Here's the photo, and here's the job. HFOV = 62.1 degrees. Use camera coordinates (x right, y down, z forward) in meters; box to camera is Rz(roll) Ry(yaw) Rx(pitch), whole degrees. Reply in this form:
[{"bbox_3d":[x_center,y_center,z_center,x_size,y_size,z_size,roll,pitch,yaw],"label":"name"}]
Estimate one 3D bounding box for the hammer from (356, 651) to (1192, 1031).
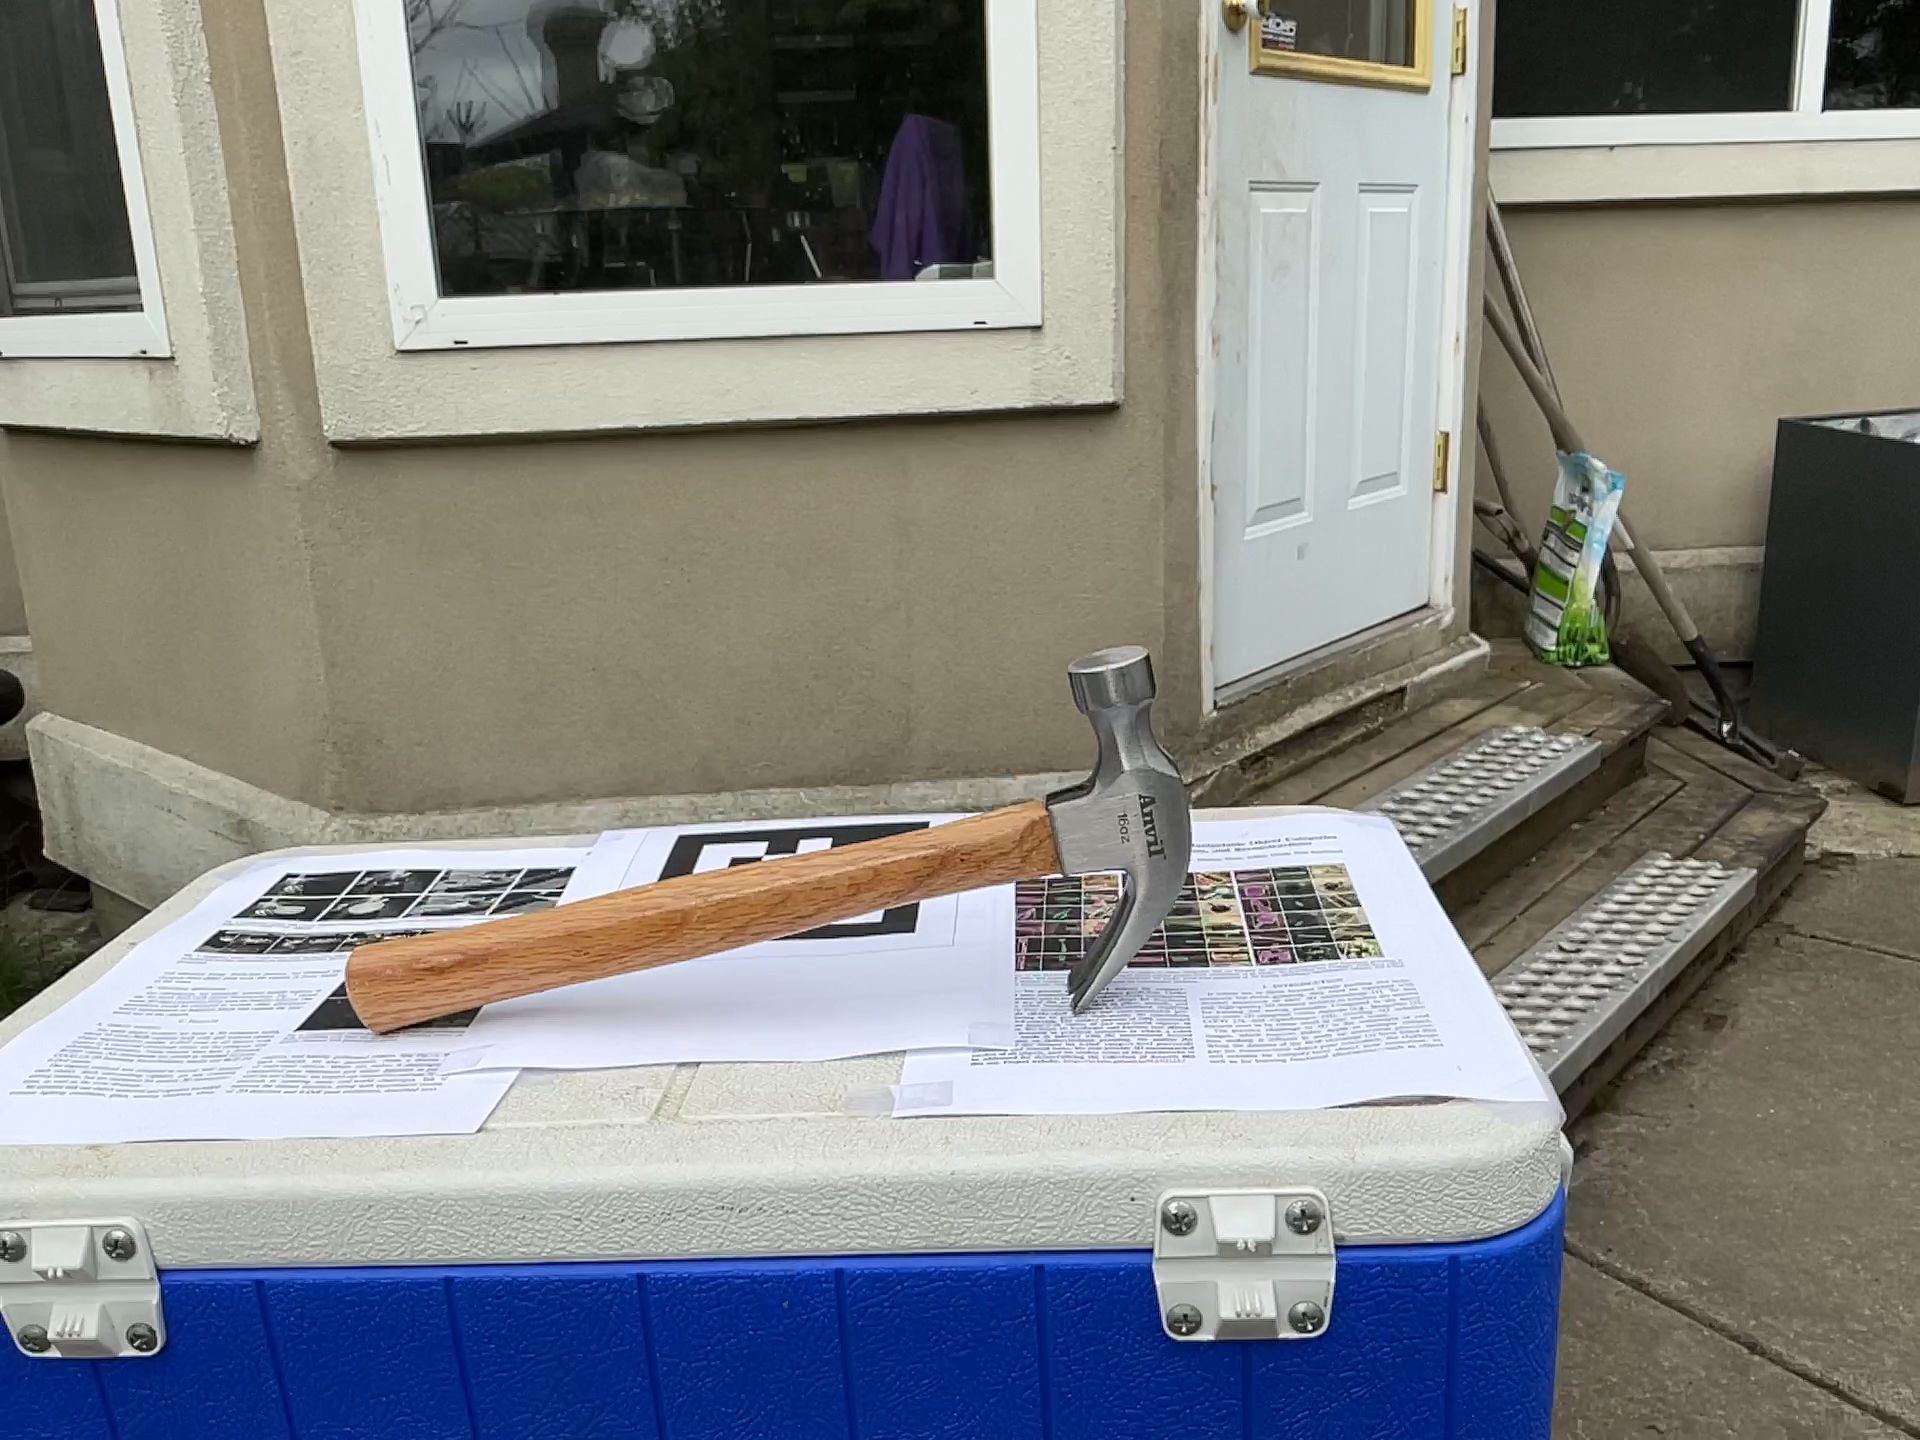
[{"bbox_3d":[-0.074,0.073,0.622,0.331,0.130,0.031,-13,13,6],"label":"hammer"}]
